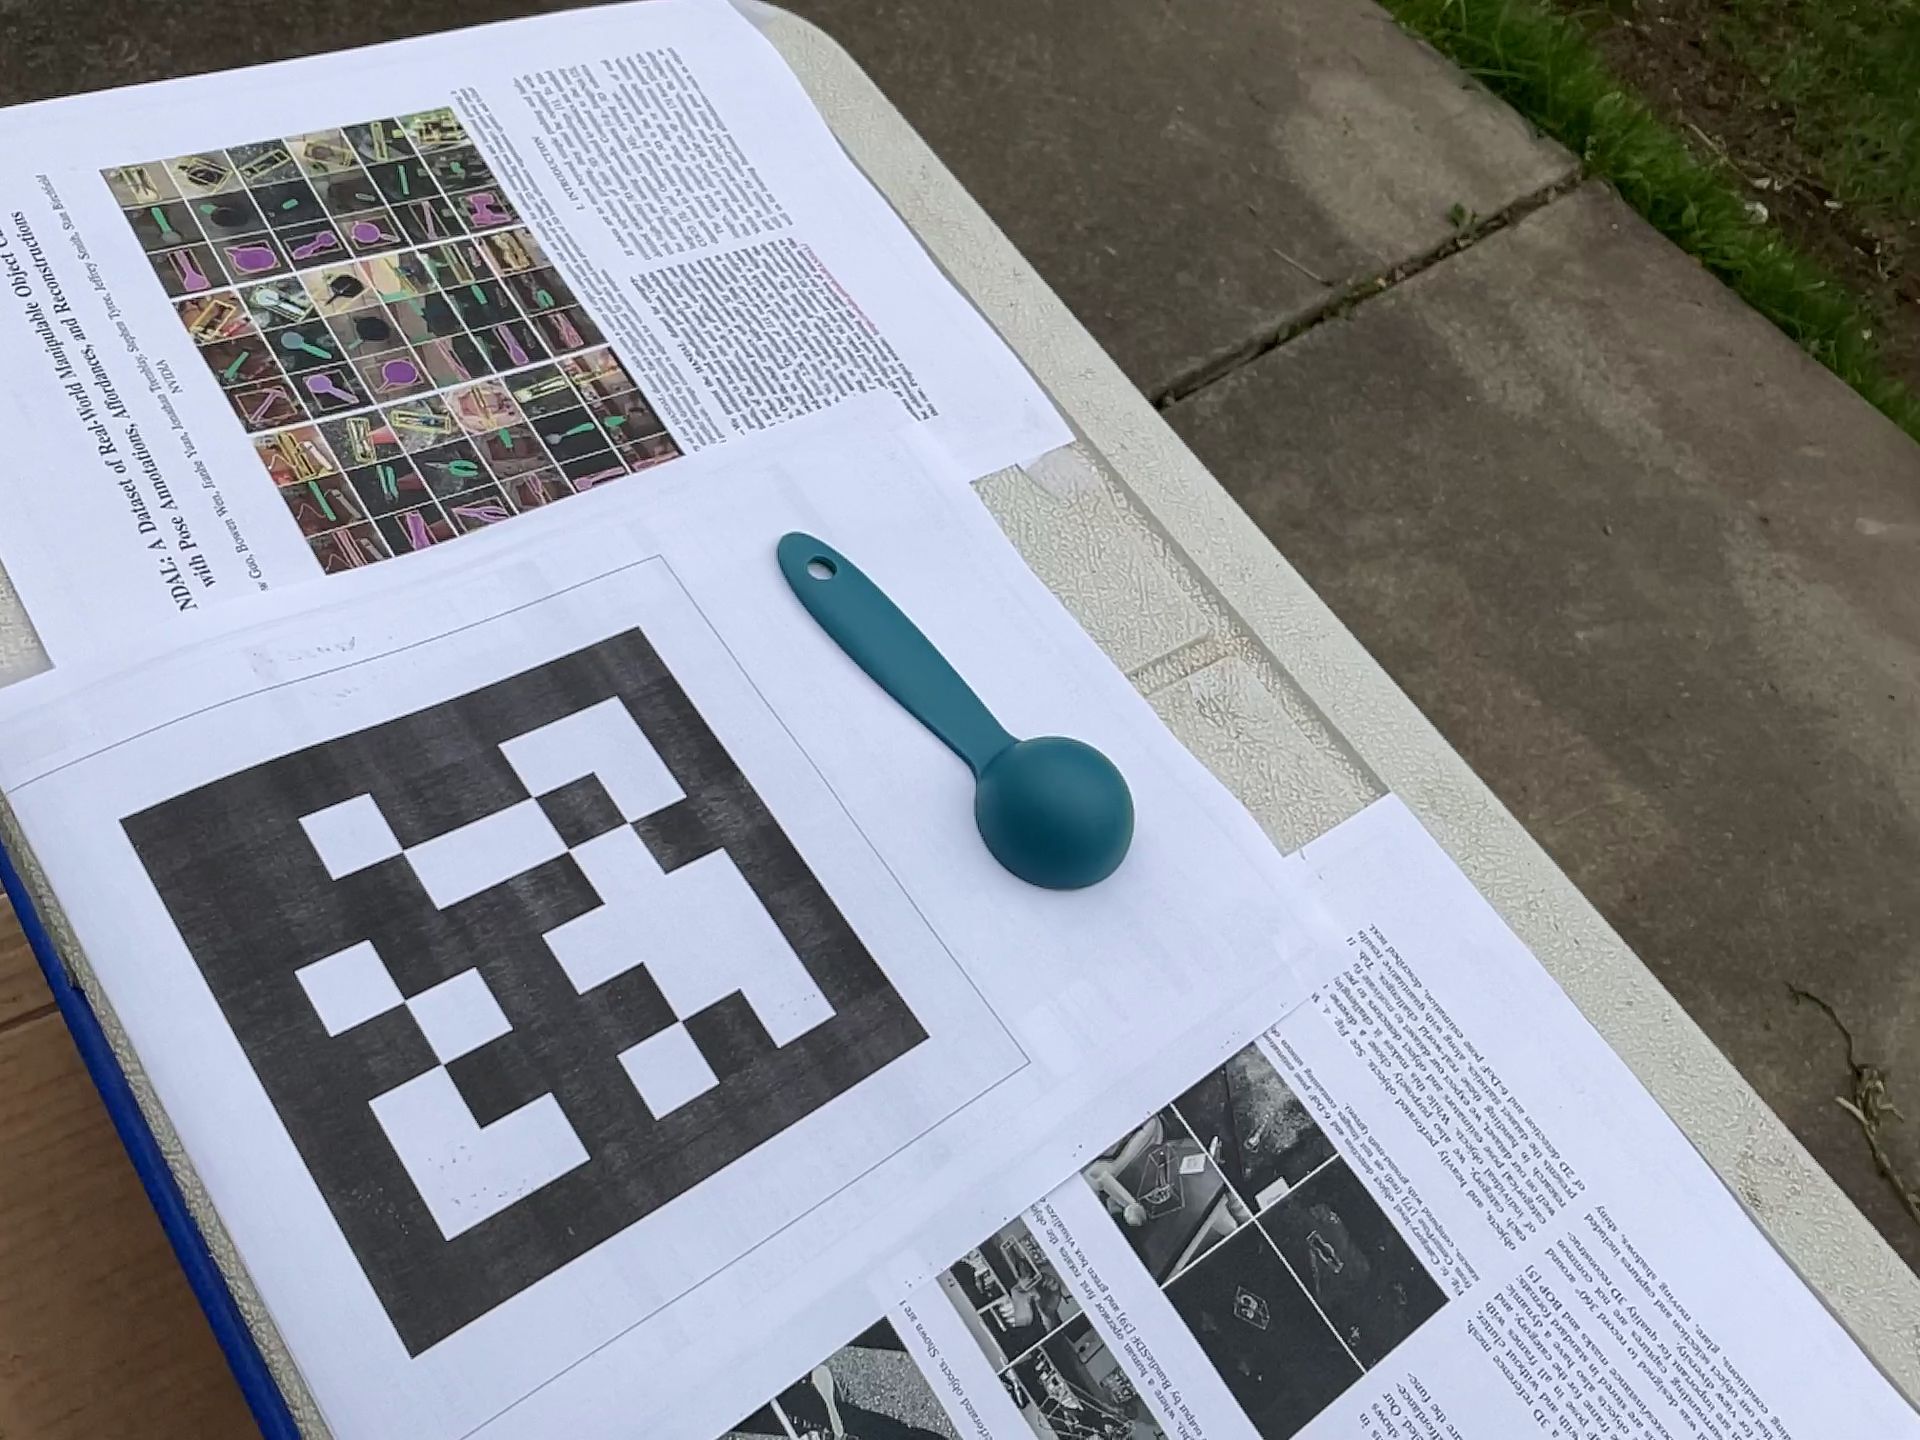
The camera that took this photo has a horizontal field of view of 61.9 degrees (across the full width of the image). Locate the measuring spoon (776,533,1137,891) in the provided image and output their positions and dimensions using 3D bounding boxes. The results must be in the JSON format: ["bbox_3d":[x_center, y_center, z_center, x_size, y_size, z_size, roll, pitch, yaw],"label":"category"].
[{"bbox_3d":[-0.003,-0.010,0.417,0.042,0.021,0.129,-37,74,-29],"label":"measuring spoon"}]
